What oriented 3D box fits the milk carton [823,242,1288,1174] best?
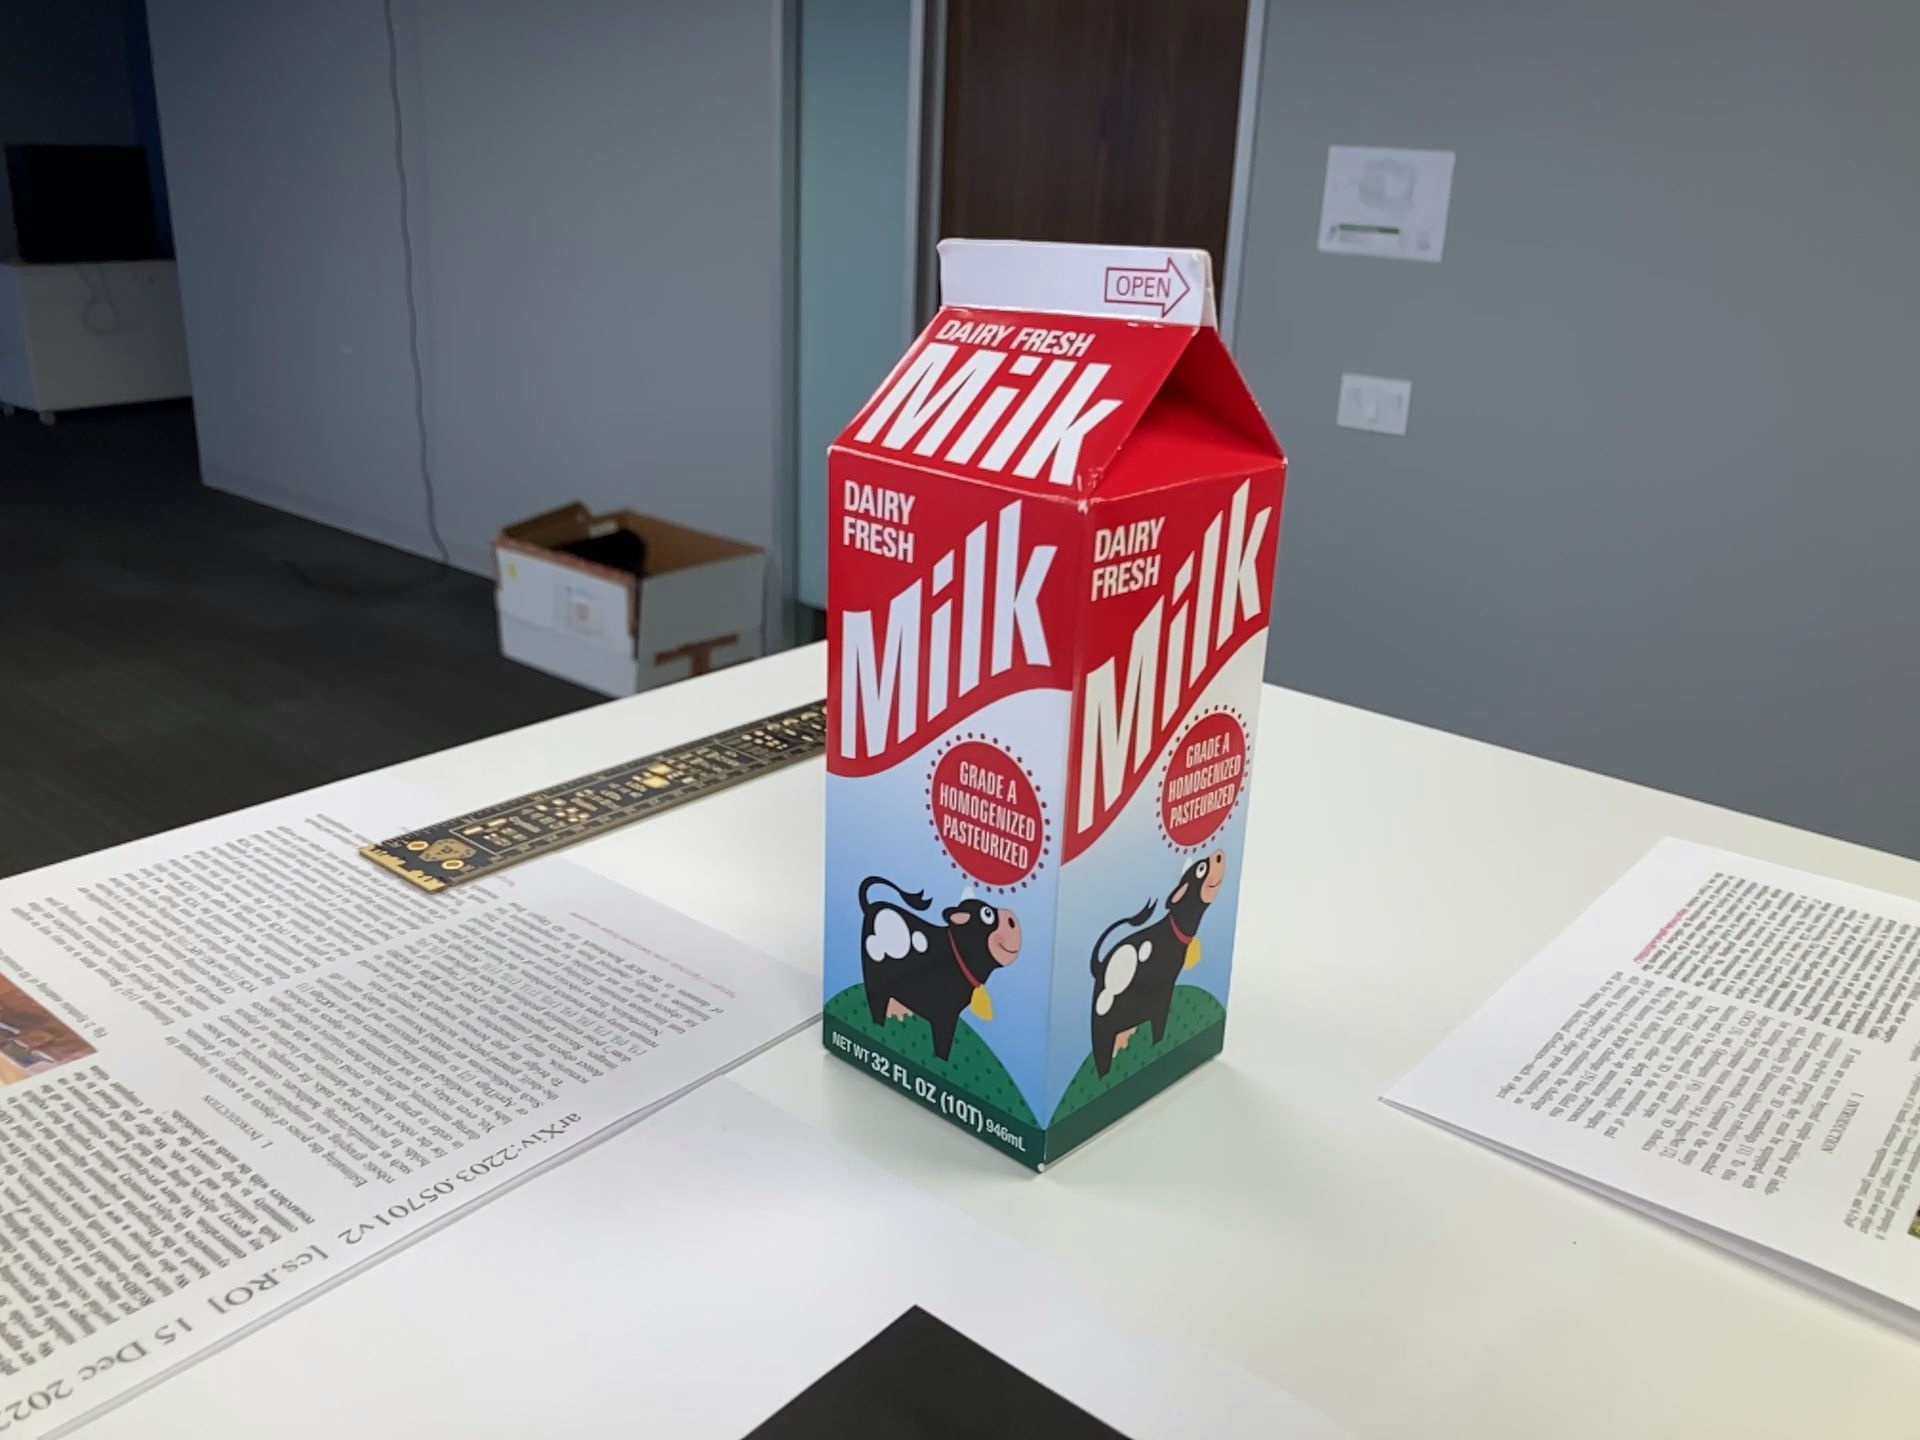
[{"bbox_3d":[0.019,-0.007,0.357,0.072,0.190,0.073,19,25,40],"label":"milk carton"}]
